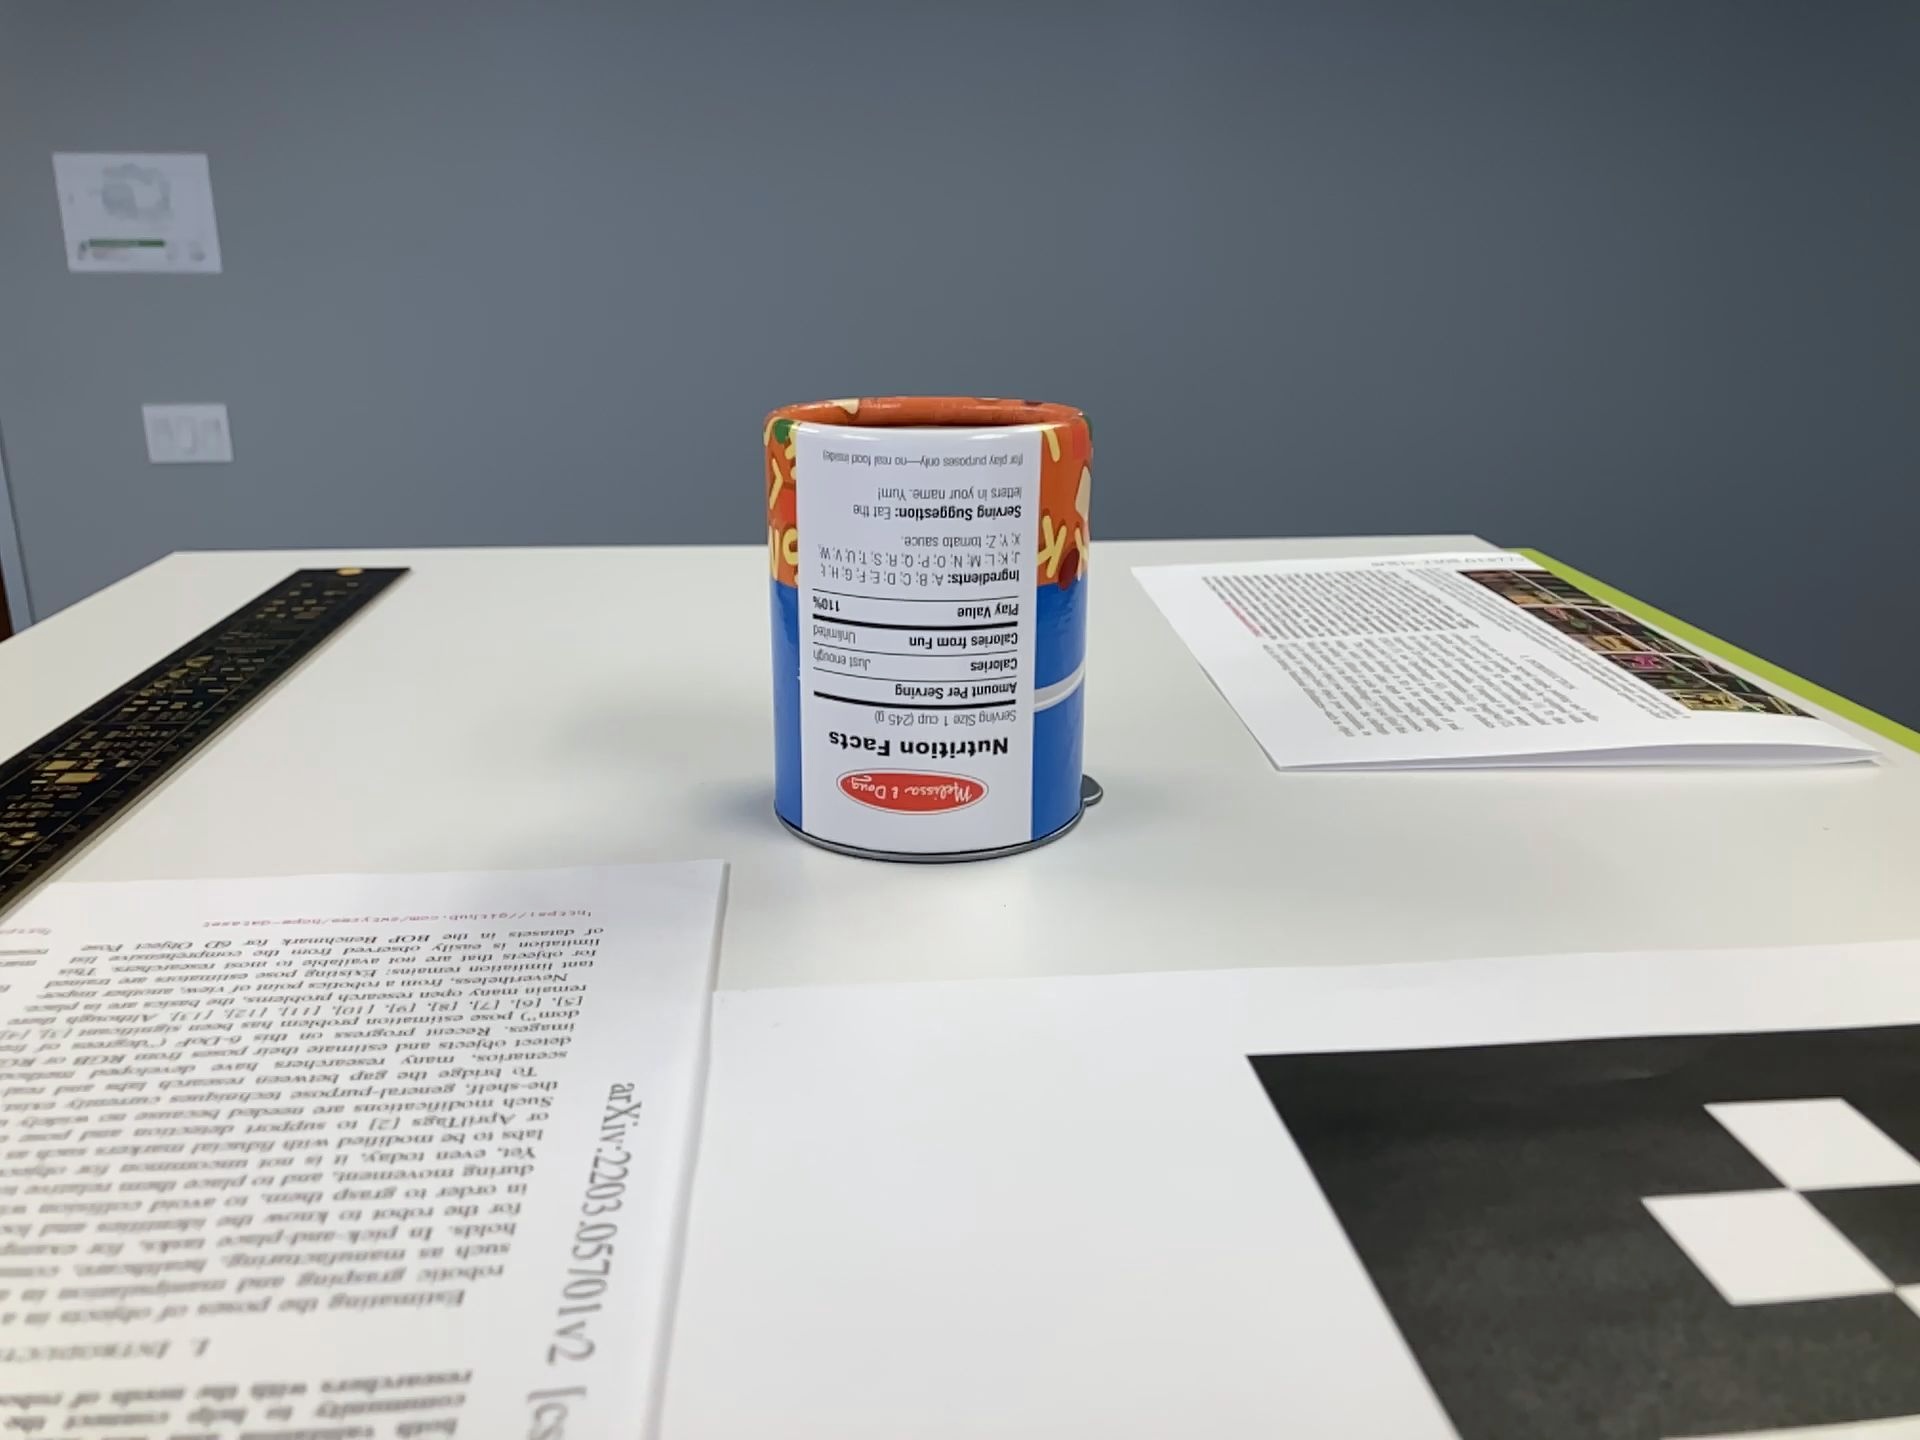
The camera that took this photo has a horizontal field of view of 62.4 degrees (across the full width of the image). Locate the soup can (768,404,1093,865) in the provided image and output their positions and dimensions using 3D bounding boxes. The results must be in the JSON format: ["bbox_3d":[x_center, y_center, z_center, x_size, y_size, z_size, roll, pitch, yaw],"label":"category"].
[{"bbox_3d":[-0.006,-0.022,0.333,0.071,0.084,0.071,1,17,0],"label":"soup can"}]
